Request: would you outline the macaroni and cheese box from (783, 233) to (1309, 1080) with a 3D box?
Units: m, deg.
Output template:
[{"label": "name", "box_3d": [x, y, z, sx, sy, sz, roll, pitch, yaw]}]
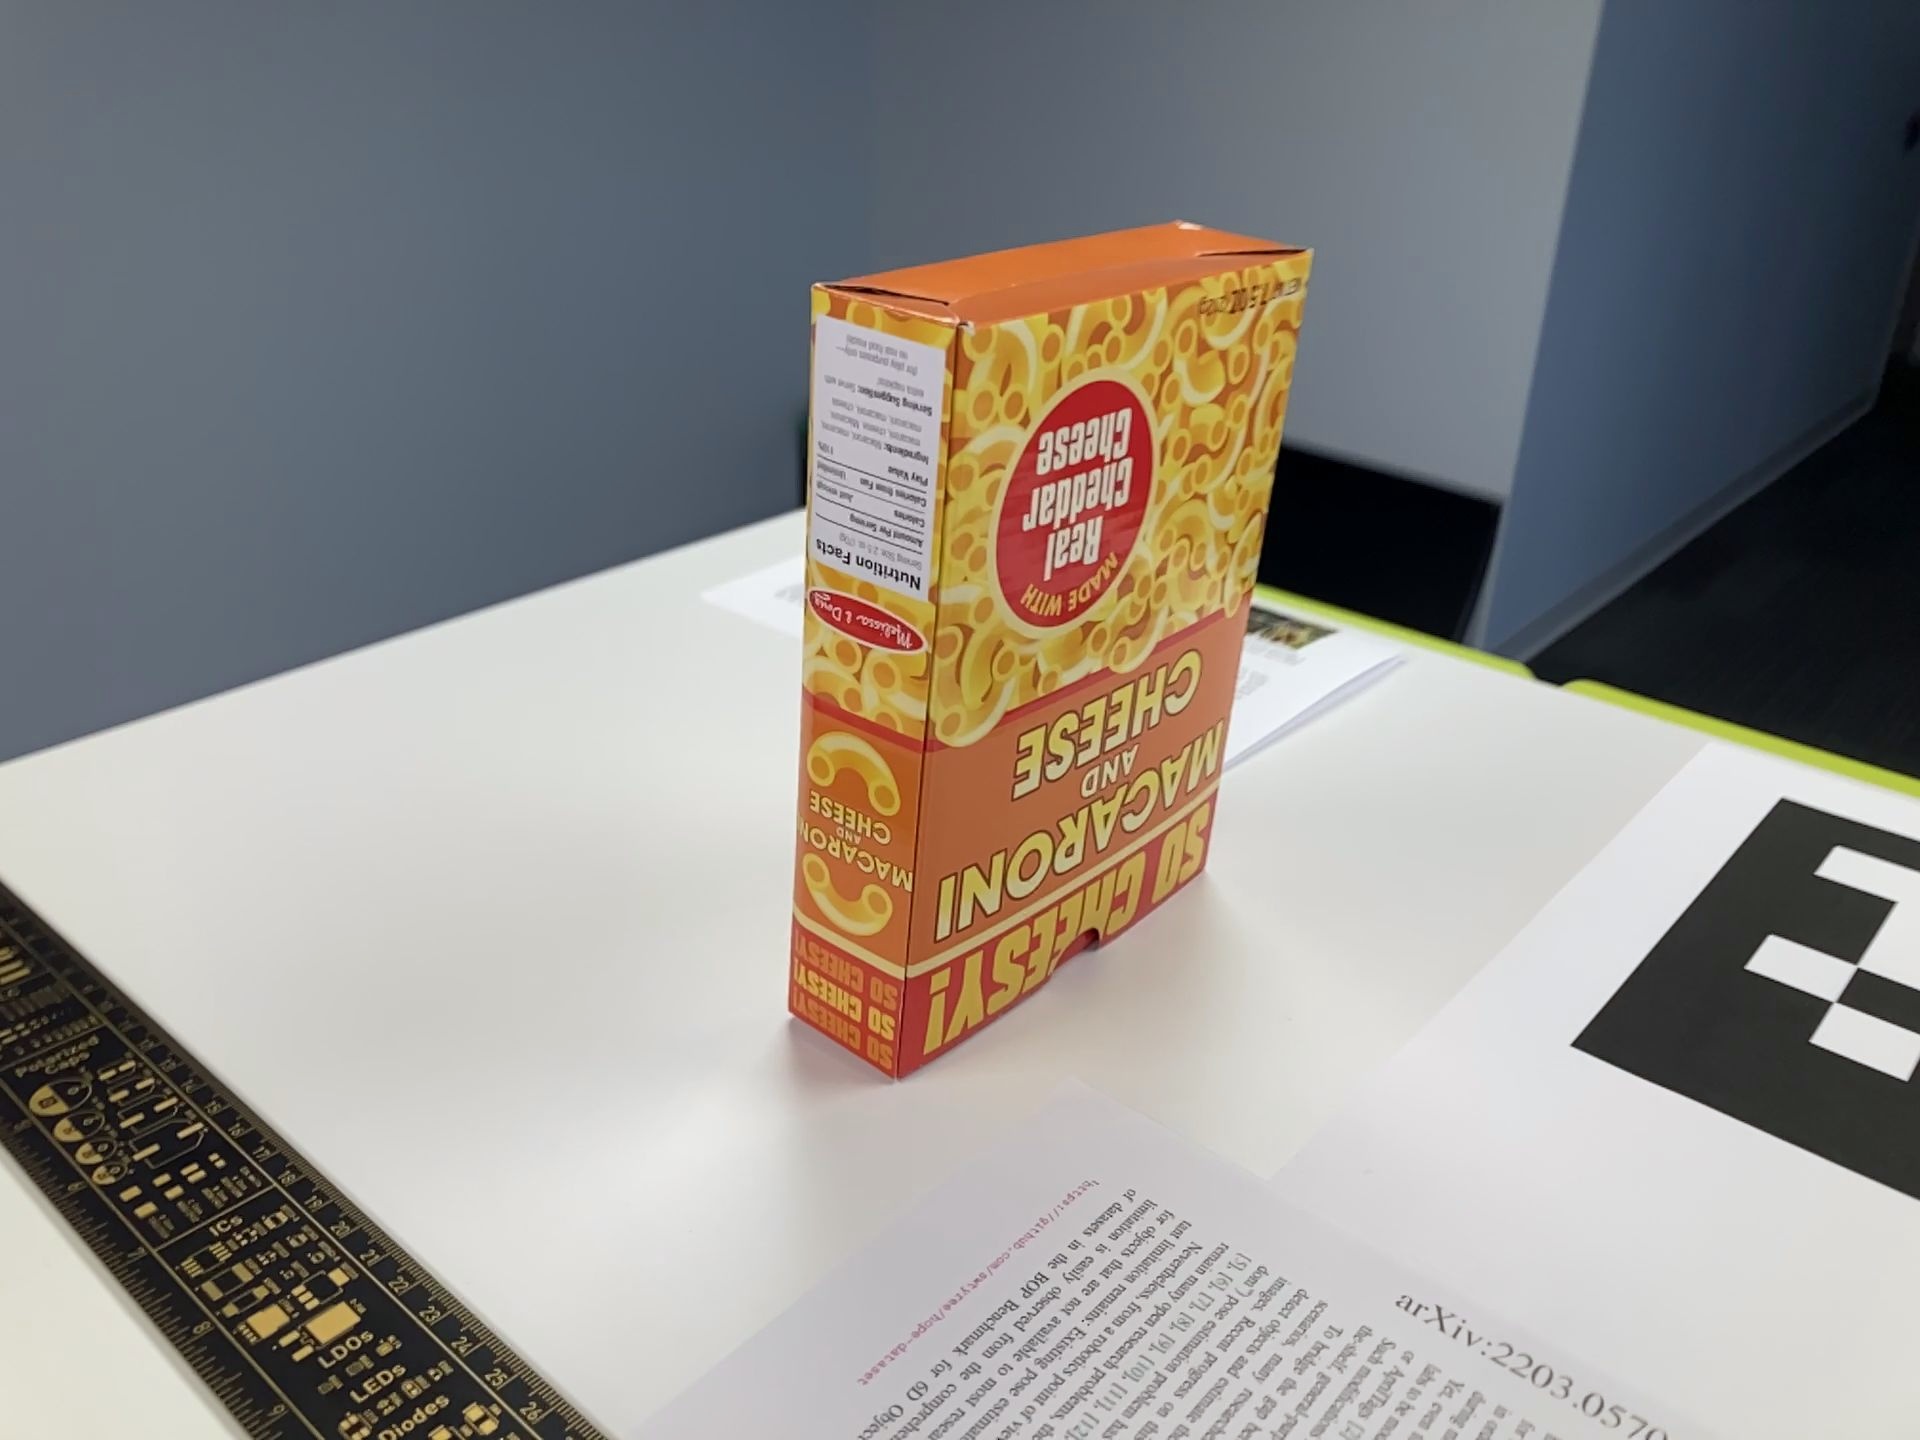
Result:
[{"label": "macaroni and cheese box", "box_3d": [0.019, -0.017, 0.360, 0.040, 0.166, 0.124, 25, 33, 34]}]
